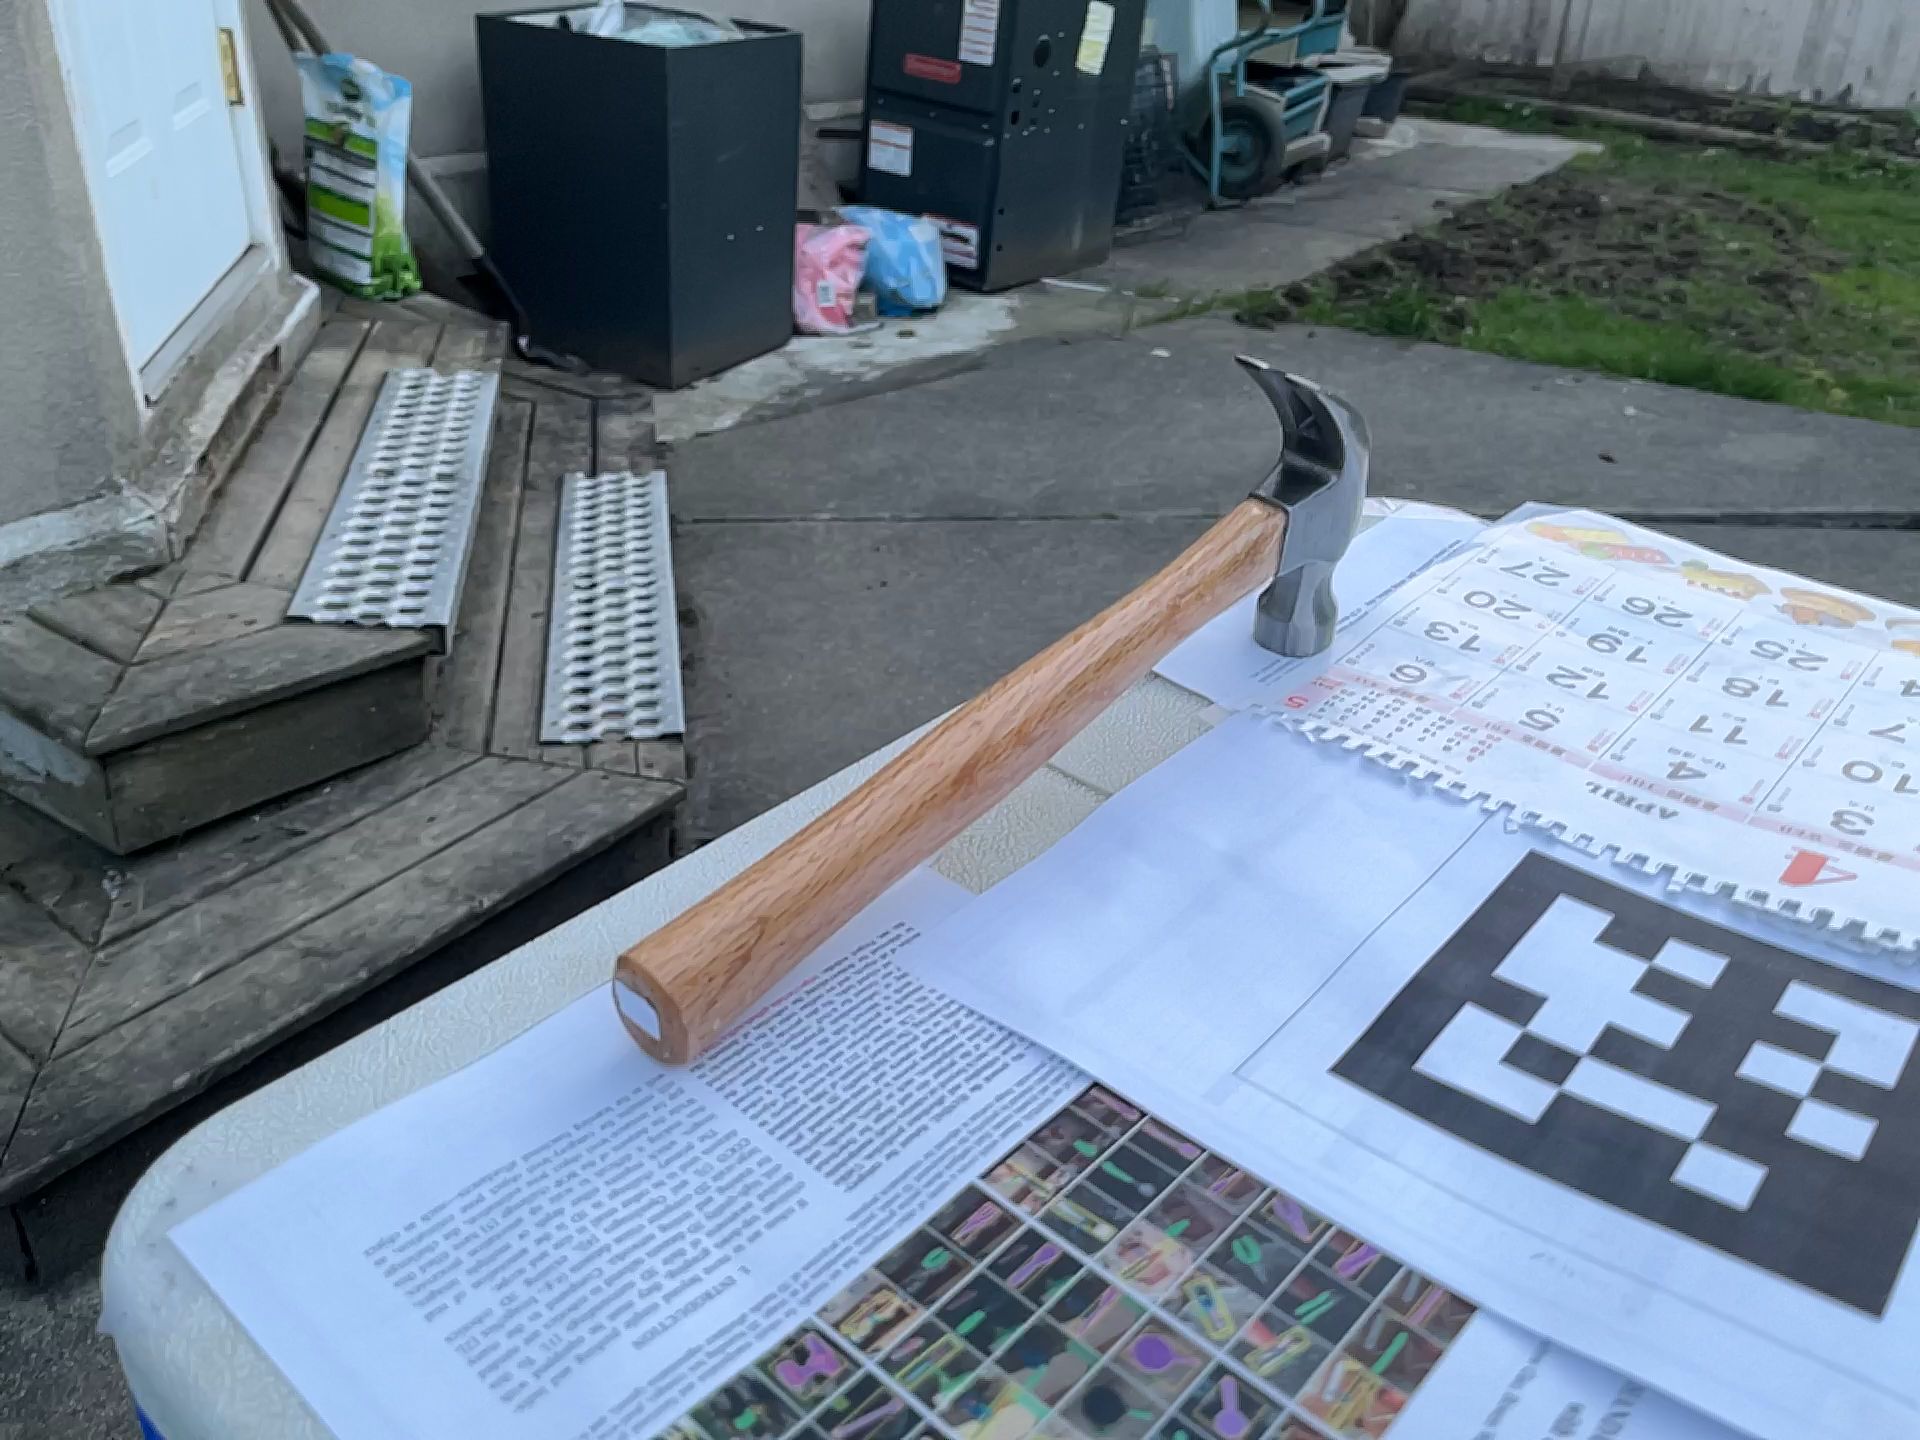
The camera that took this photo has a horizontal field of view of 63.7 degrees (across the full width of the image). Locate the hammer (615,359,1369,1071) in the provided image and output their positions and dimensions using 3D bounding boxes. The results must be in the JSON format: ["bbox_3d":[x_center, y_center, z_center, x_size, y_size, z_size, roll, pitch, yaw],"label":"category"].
[{"bbox_3d":[0.031,-0.009,0.472,0.031,0.130,0.331,29,48,30],"label":"hammer"}]
